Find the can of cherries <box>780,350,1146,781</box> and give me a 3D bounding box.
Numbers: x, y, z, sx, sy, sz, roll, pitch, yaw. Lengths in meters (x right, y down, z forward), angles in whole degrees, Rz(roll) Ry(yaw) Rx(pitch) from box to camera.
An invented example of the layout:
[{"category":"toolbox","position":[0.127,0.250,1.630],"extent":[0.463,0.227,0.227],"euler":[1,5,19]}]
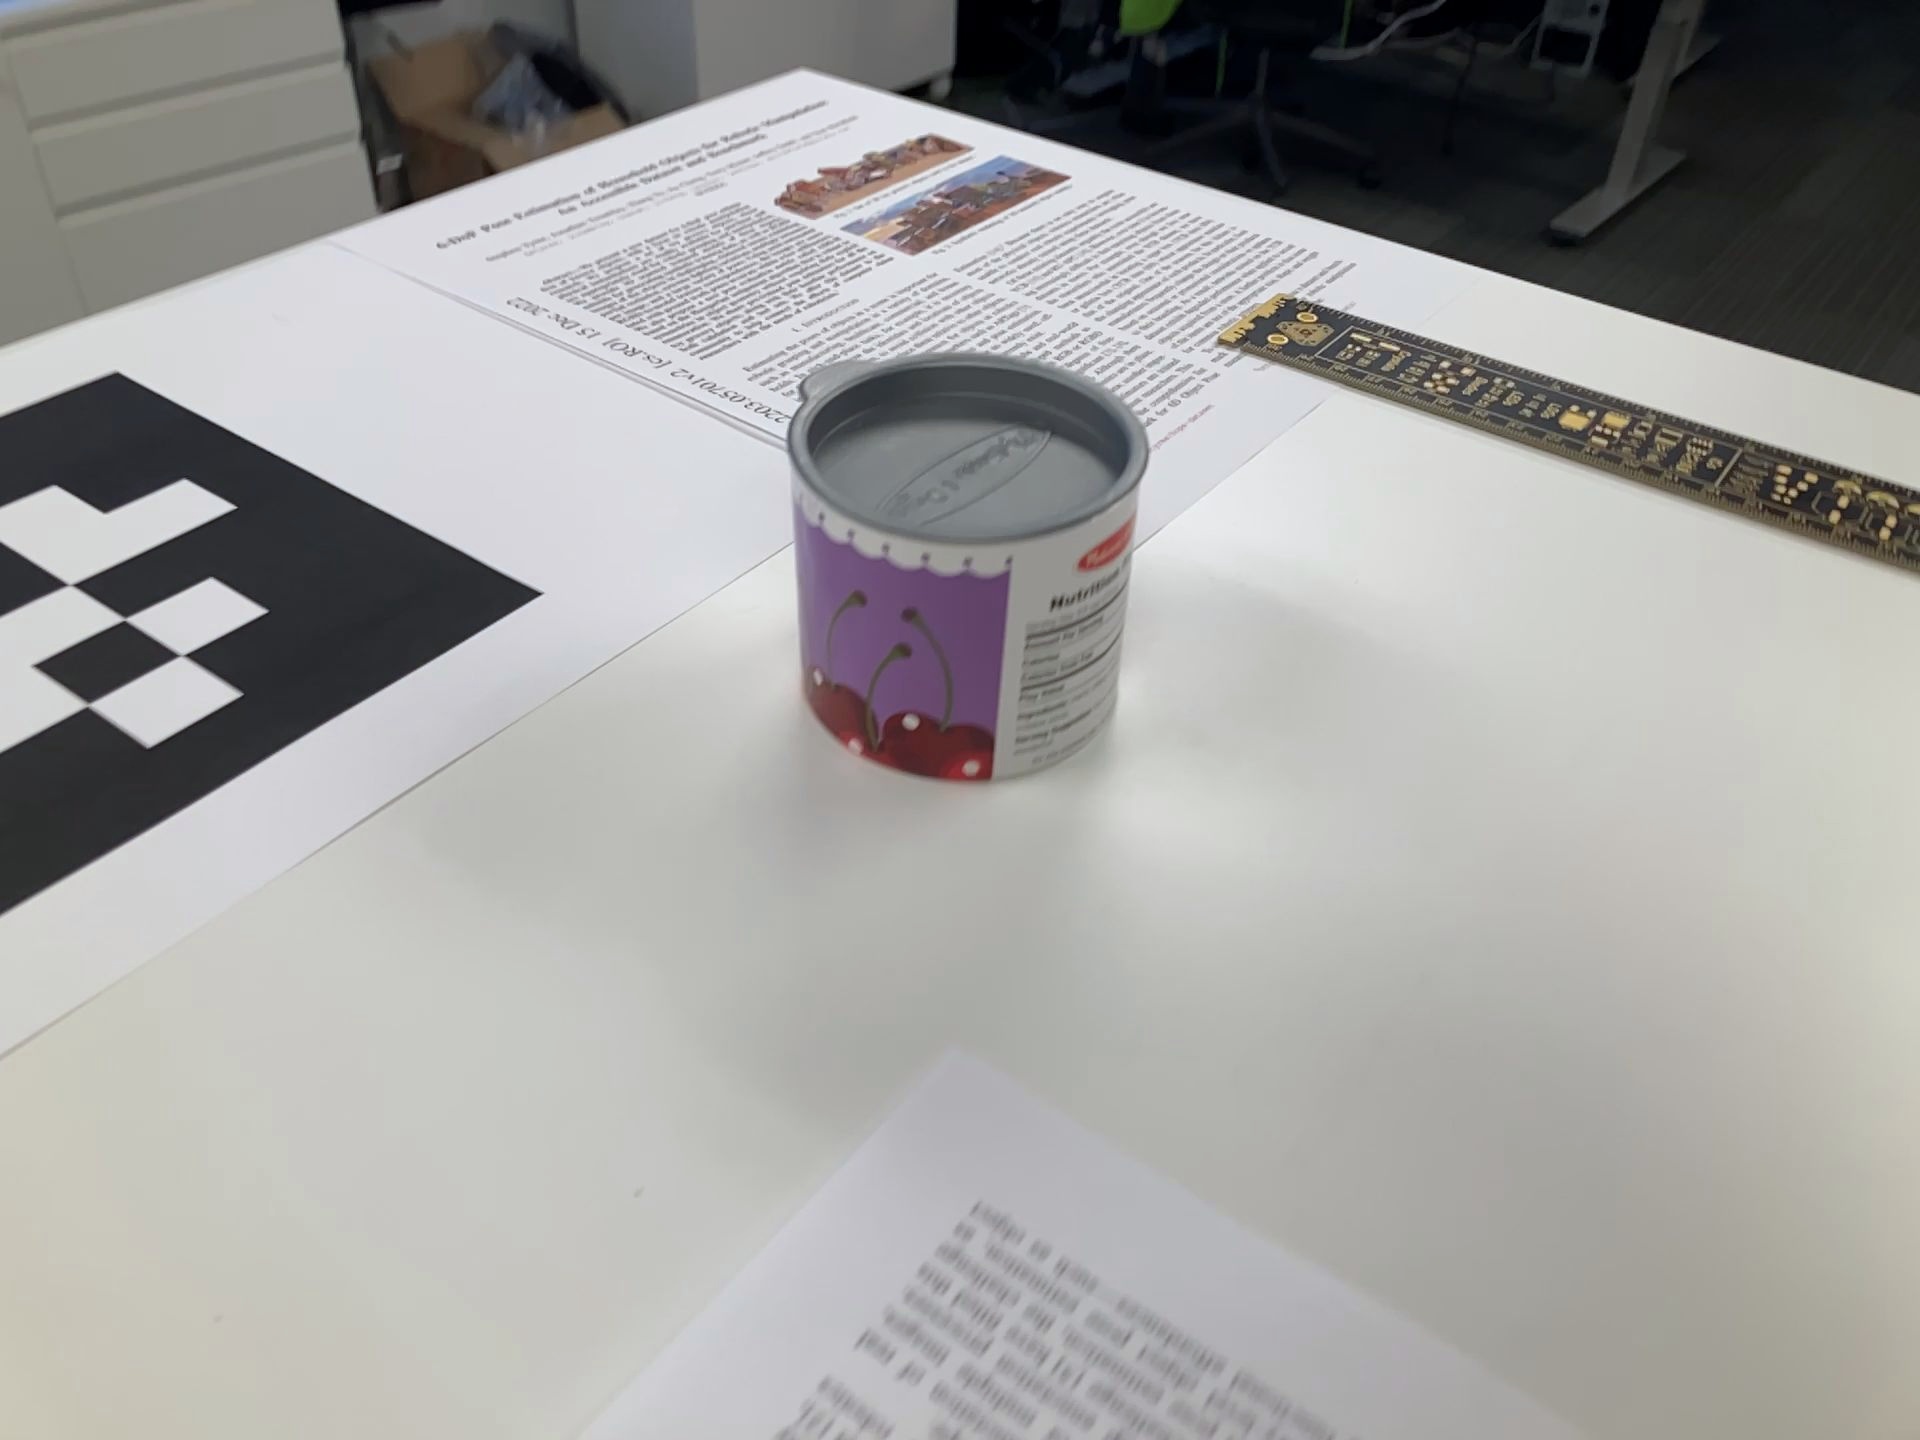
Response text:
[{"category":"can of cherries","position":[-0.002,-0.031,0.309],"extent":[0.071,0.058,0.071],"euler":[1,40,-1]}]
